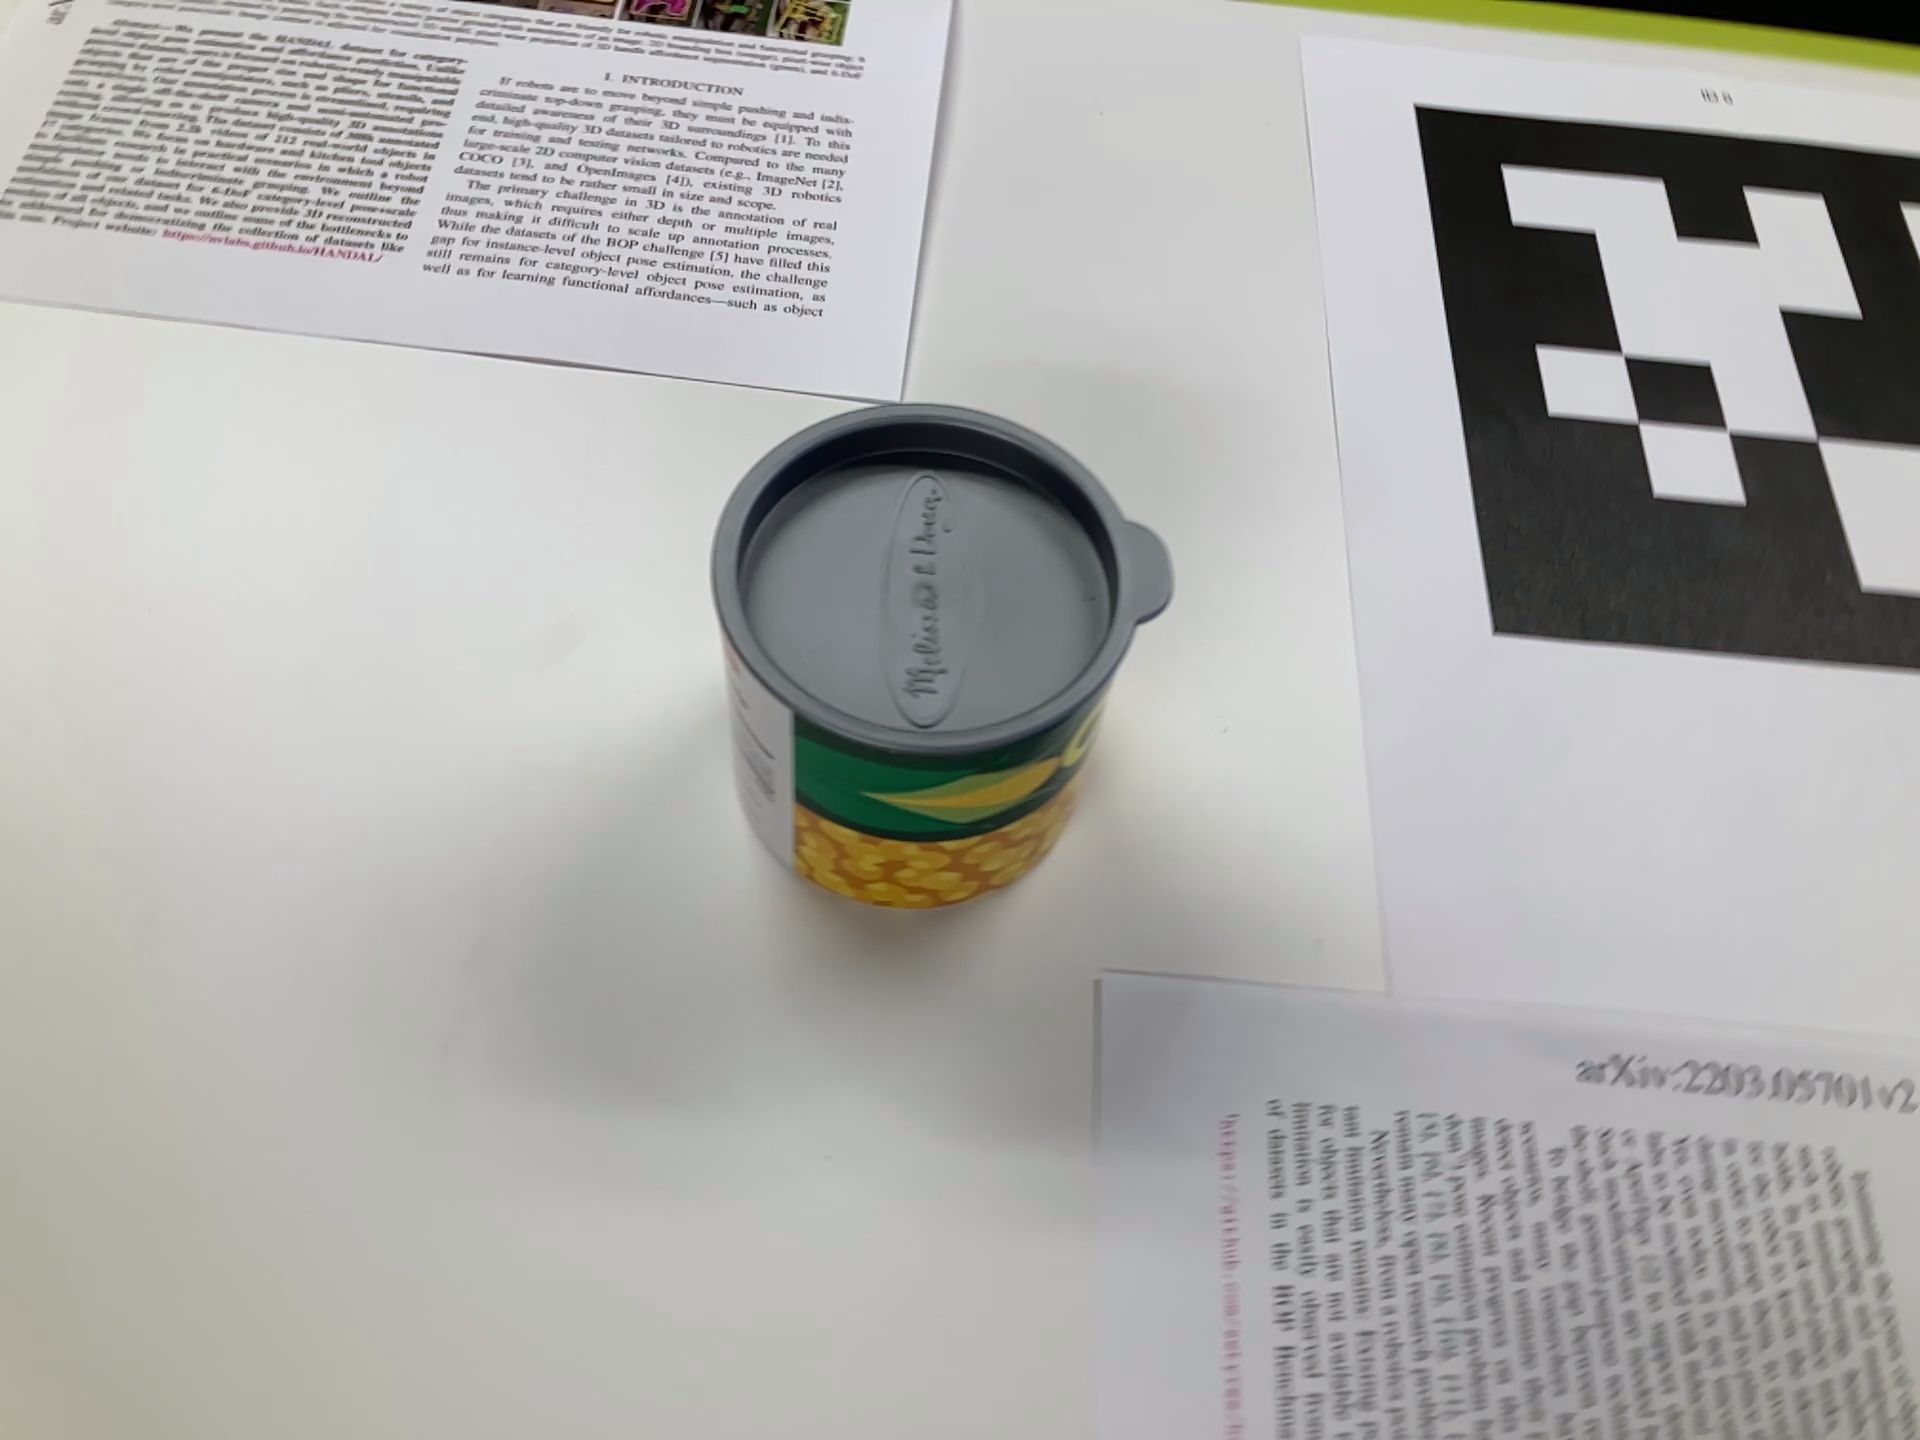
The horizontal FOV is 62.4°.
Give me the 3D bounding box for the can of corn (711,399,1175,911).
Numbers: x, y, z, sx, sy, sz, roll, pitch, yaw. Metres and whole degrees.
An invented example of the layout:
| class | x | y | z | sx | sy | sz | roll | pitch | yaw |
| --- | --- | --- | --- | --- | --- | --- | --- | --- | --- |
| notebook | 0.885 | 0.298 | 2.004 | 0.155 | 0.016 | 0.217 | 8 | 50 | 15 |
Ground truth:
| class | x | y | z | sx | sy | sz | roll | pitch | yaw |
| --- | --- | --- | --- | --- | --- | --- | --- | --- | --- |
| can of corn | -0.005 | -0.009 | 0.266 | 0.071 | 0.058 | 0.071 | 3 | 59 | -4 |
